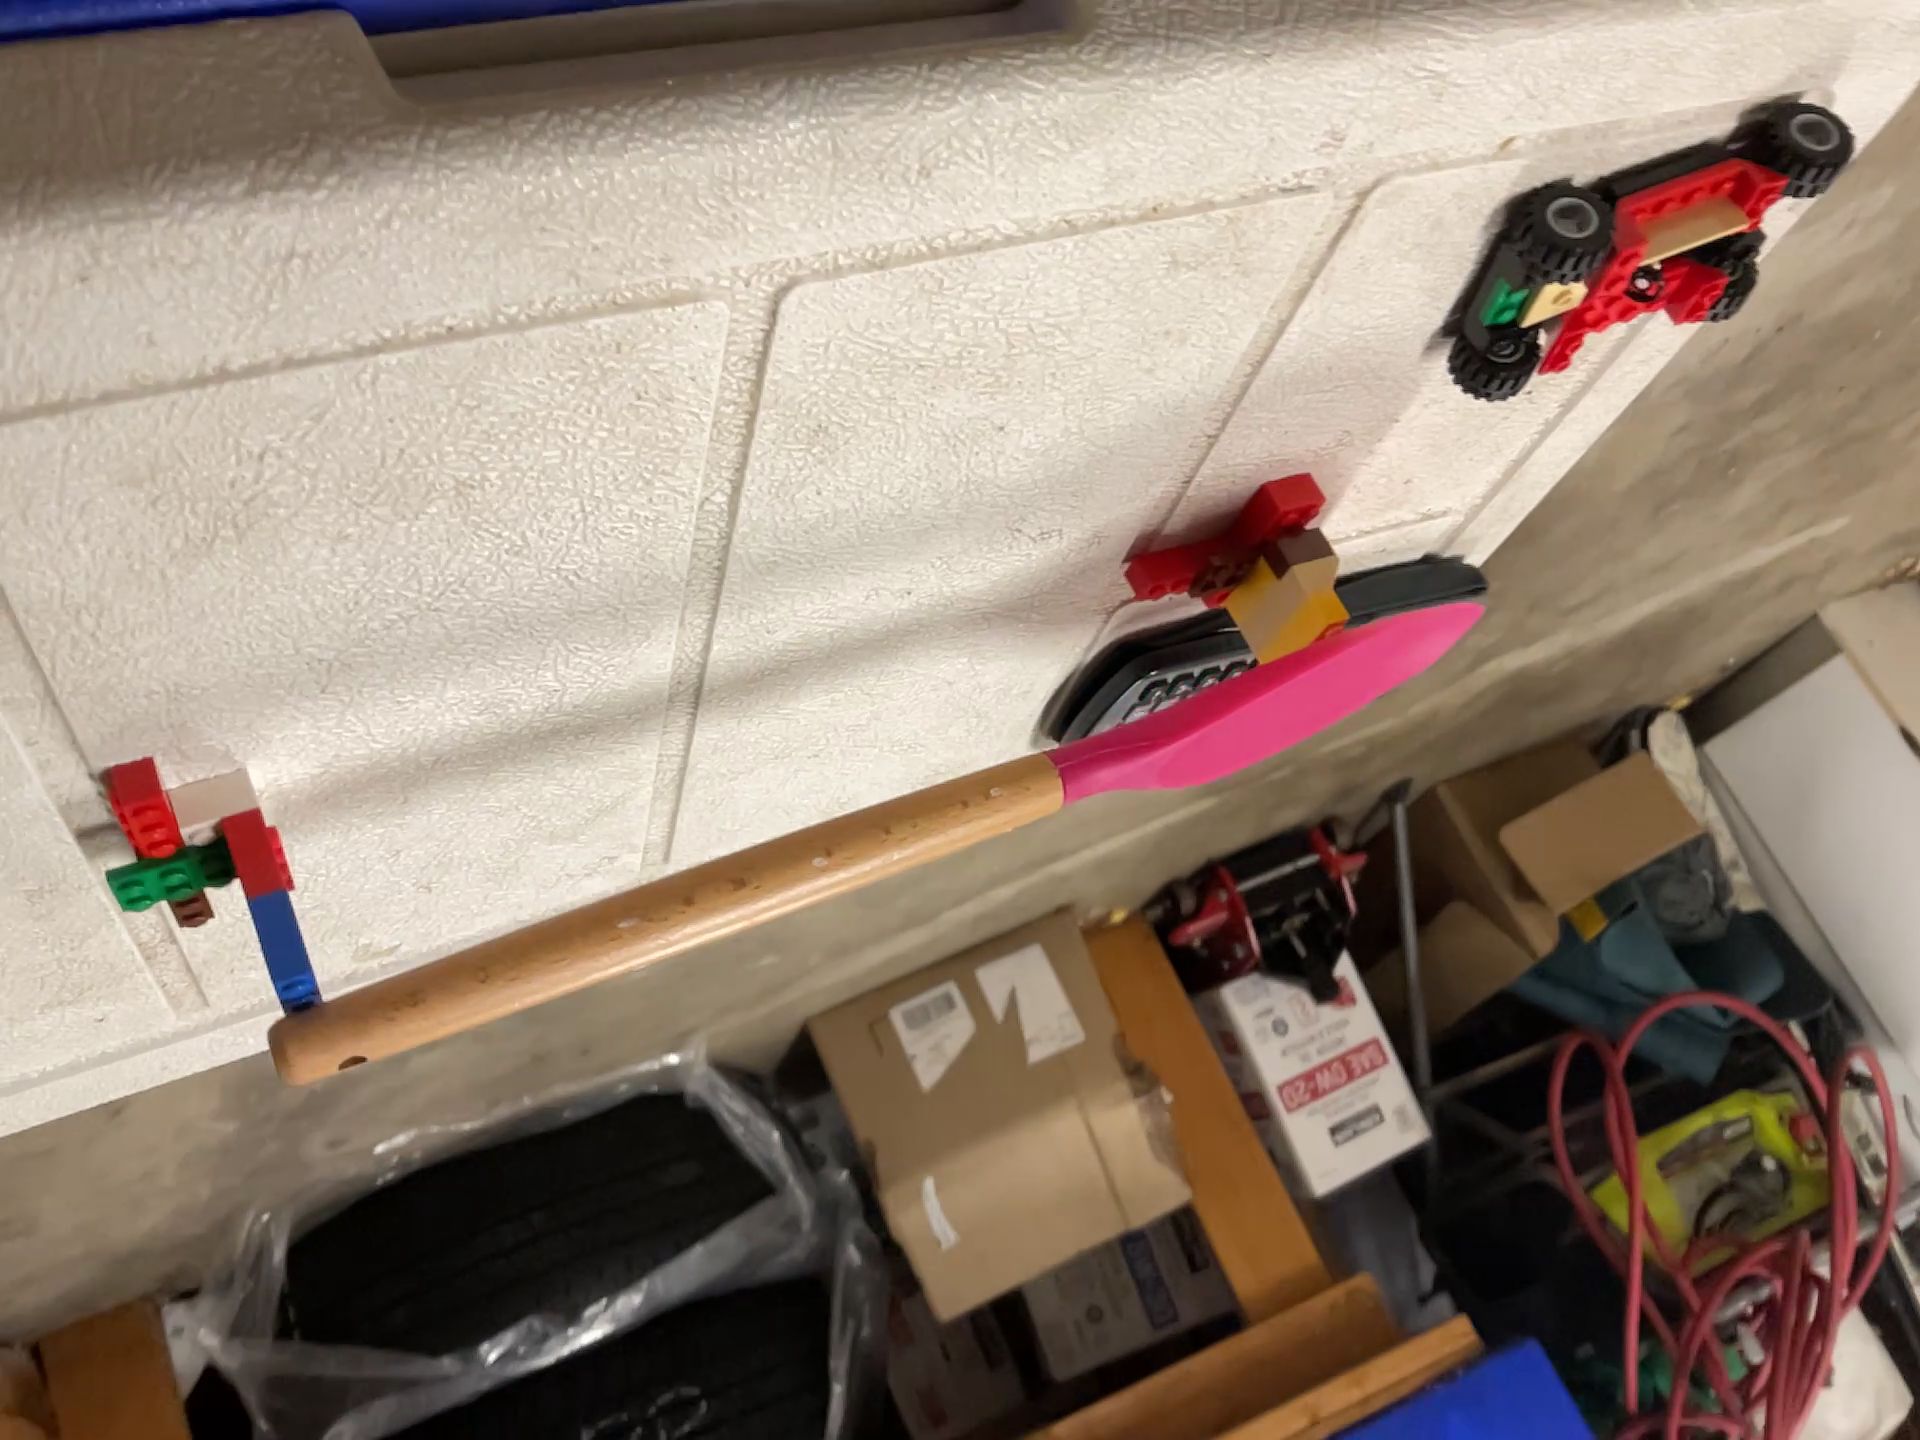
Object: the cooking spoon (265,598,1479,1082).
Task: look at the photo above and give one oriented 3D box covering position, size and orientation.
[{"bbox_3d":[-0.001,0.021,0.387,0.319,0.017,0.068,-19,158,-23],"label":"cooking spoon"}]
